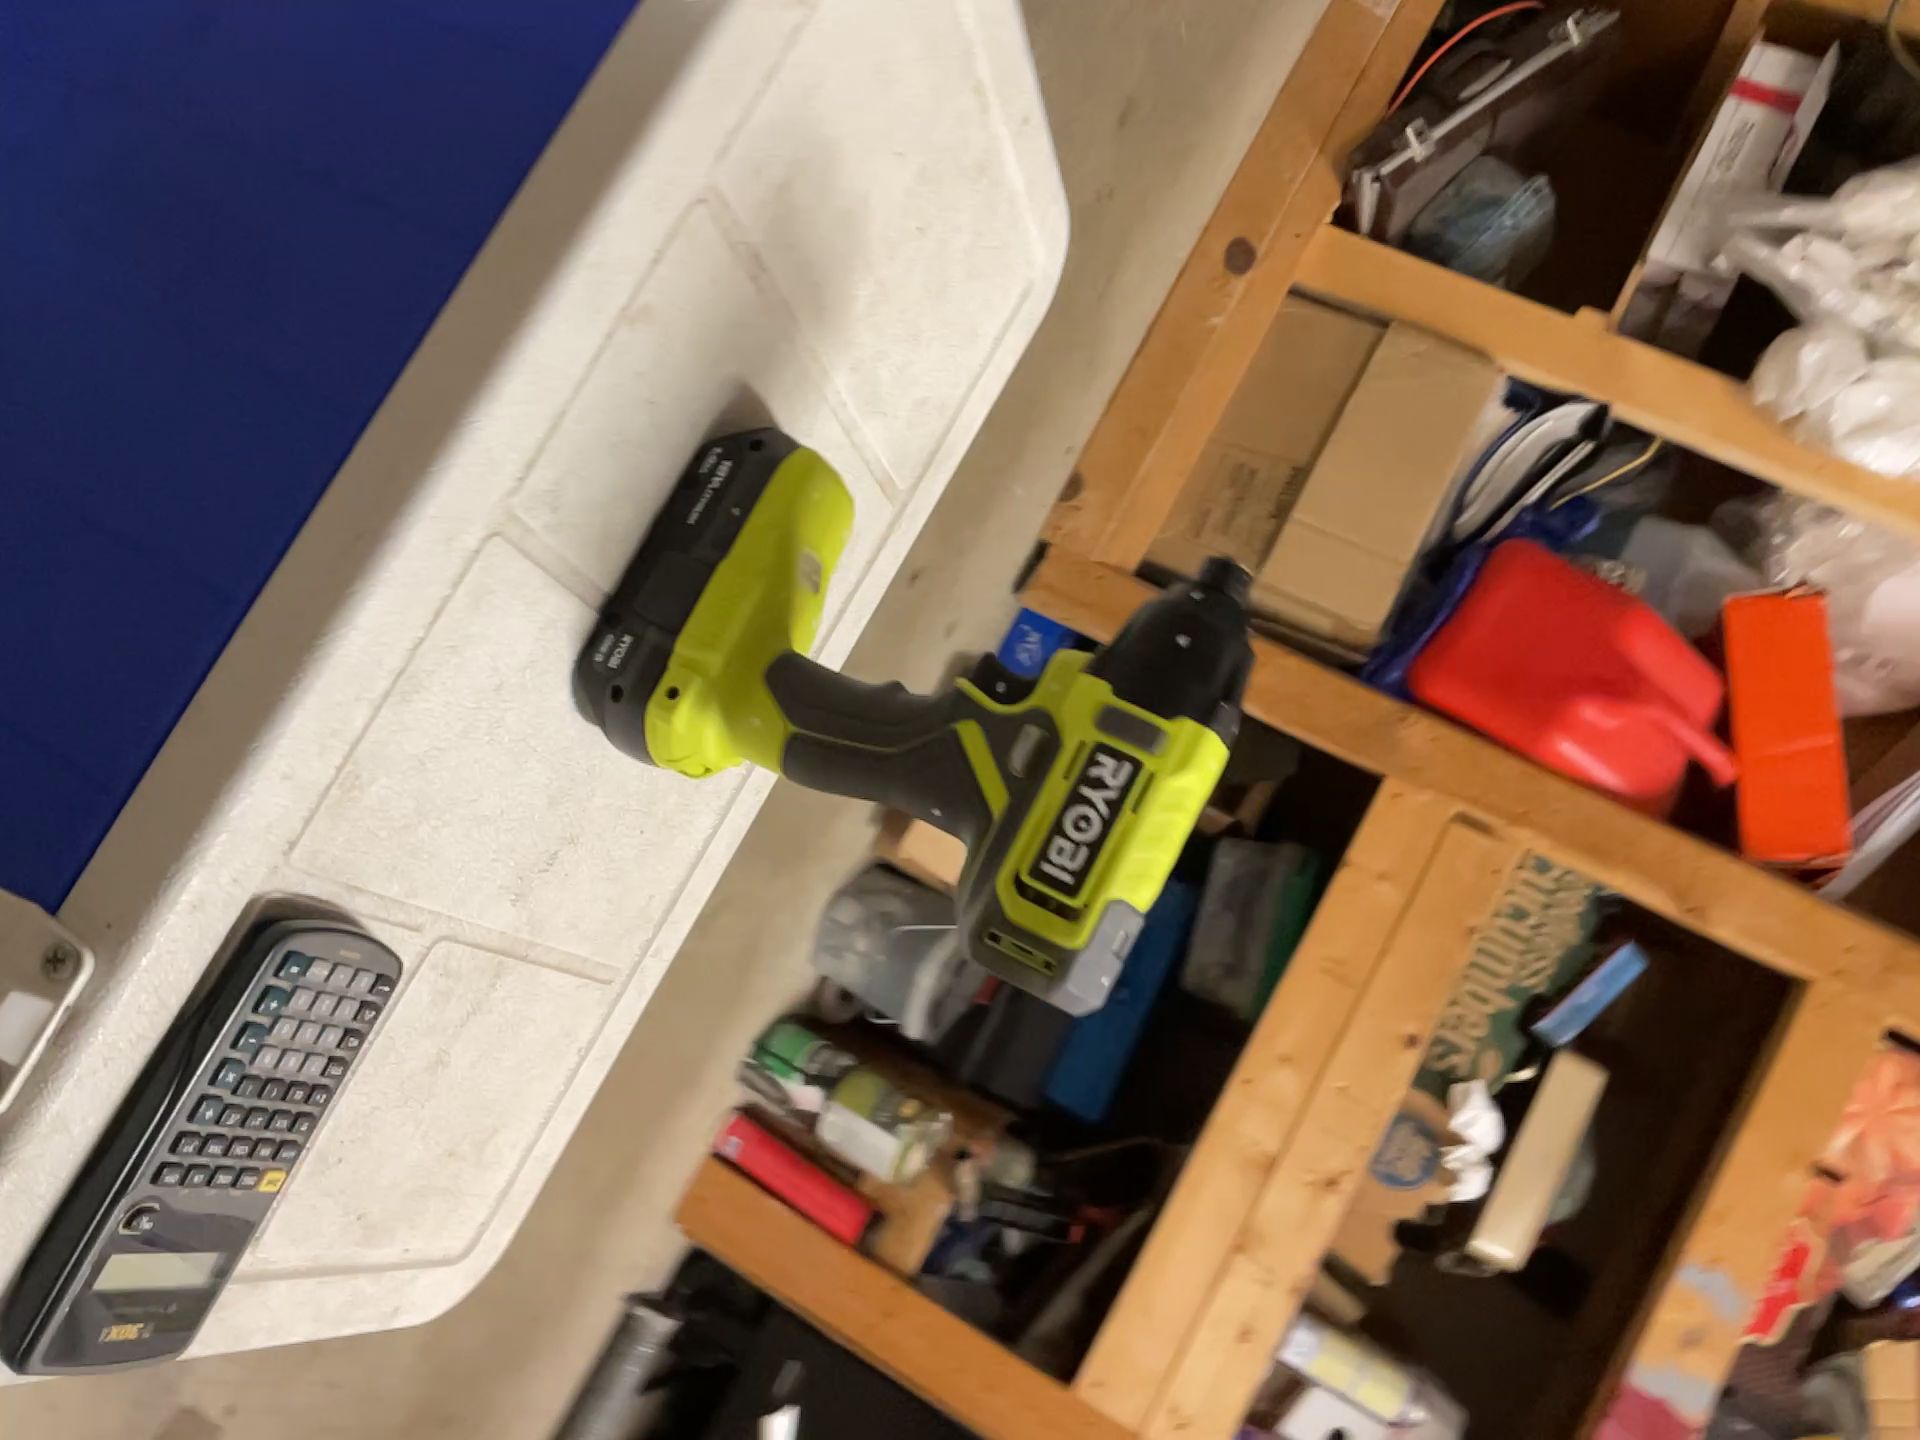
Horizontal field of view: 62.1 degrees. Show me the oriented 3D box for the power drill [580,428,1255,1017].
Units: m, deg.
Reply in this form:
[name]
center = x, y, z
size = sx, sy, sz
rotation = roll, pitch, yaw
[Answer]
[power drill]
center = -0.012, -0.015, 0.597
size = 0.171, 0.223, 0.080
rotation = -63, 163, -7
